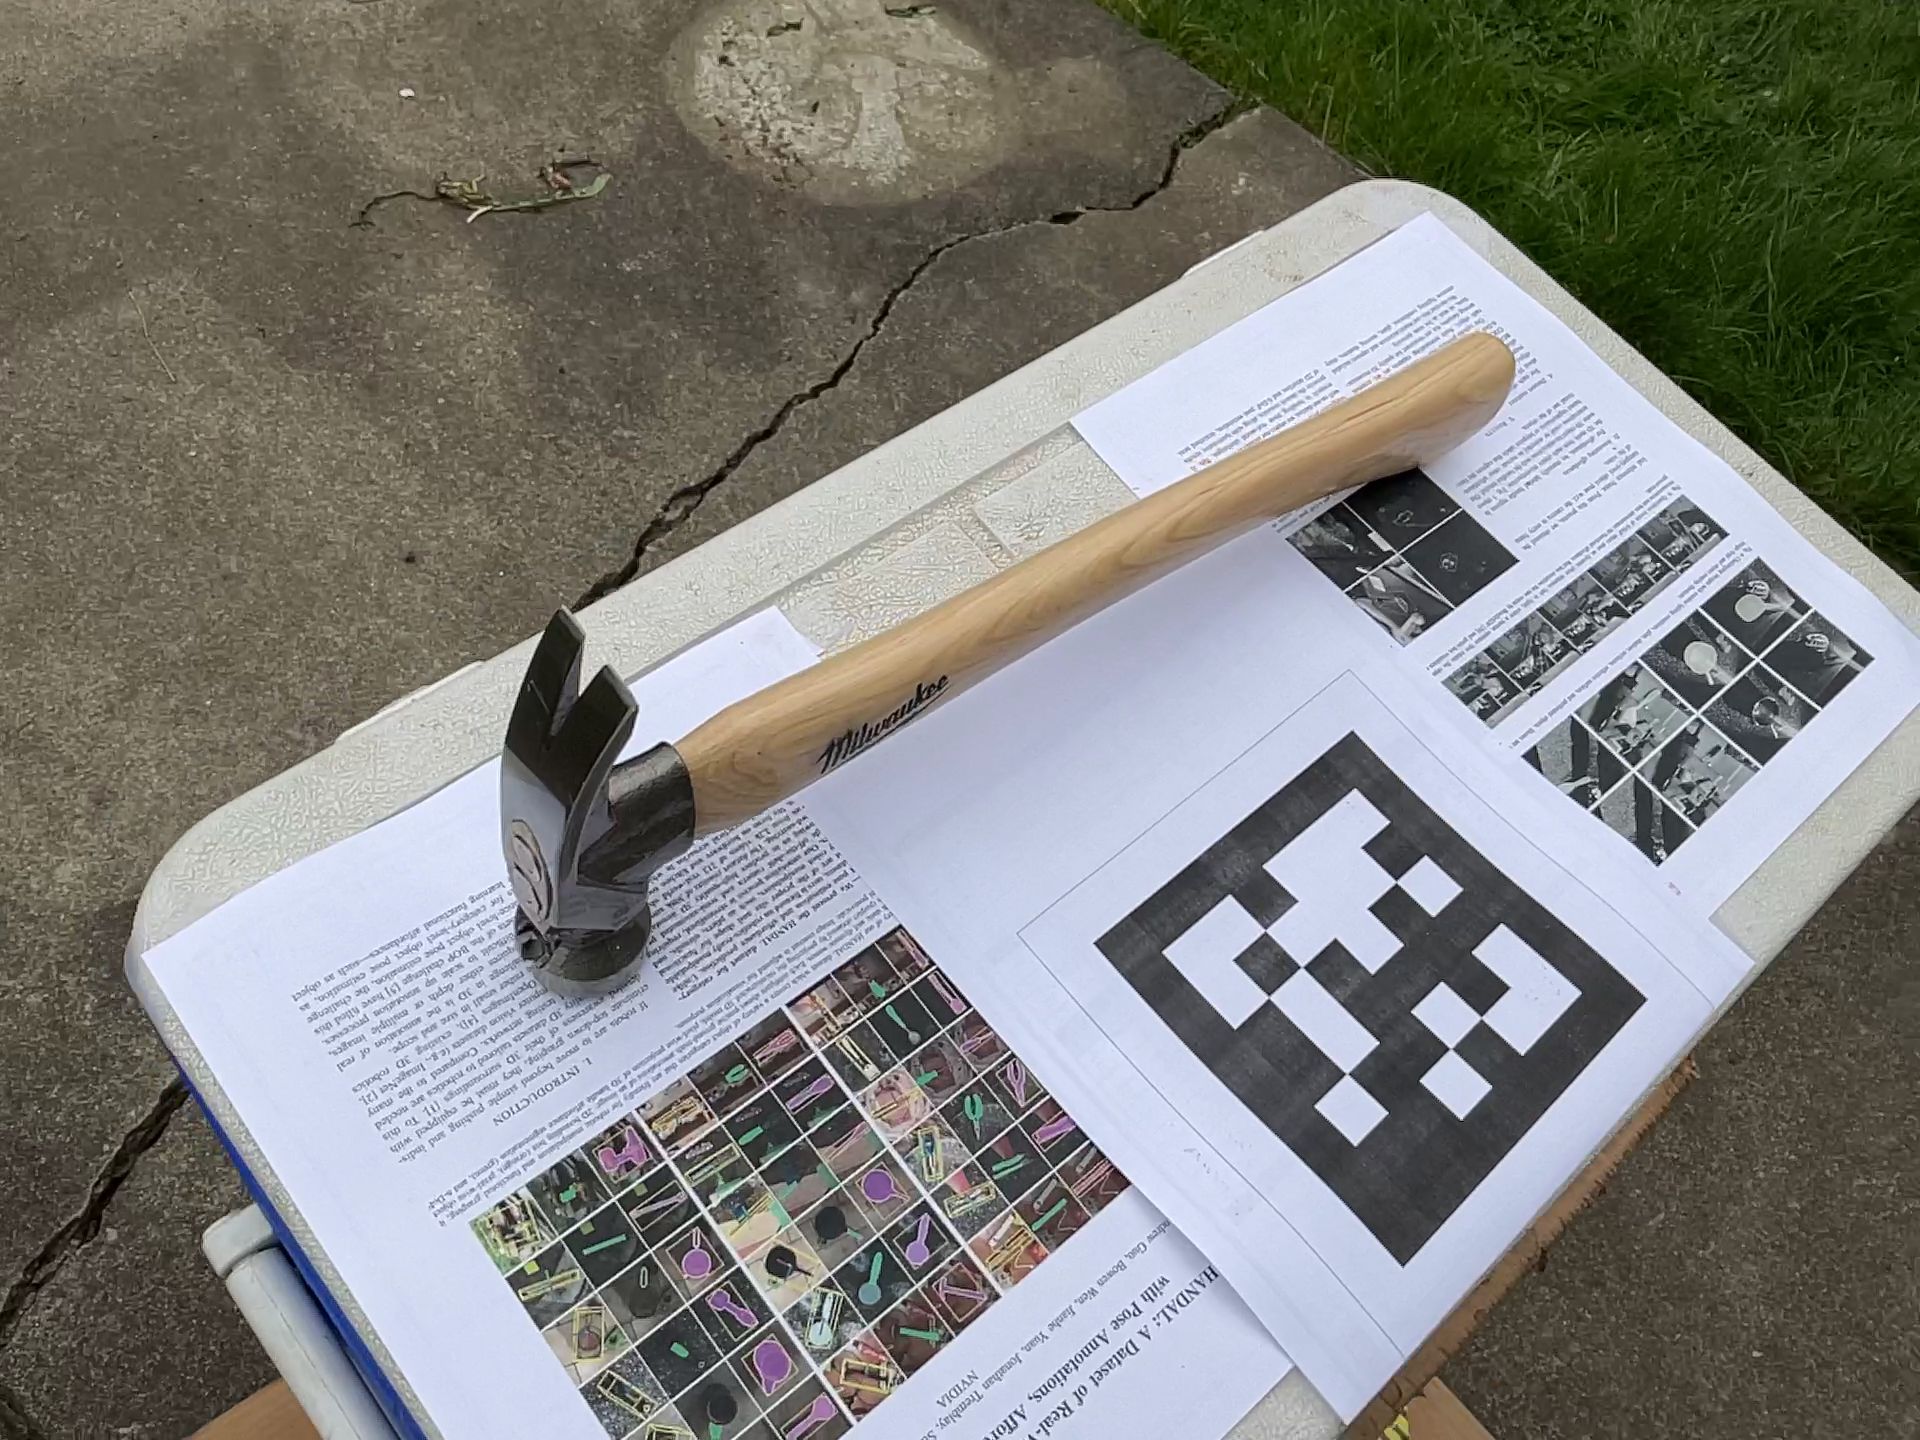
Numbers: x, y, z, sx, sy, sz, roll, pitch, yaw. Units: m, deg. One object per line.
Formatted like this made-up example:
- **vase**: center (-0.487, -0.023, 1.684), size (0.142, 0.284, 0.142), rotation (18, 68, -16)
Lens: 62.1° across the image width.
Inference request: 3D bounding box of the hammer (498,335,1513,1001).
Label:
- **hammer**: center (0.046, -0.053, 0.501), size (0.410, 0.146, 0.038), rotation (-29, 69, -30)
